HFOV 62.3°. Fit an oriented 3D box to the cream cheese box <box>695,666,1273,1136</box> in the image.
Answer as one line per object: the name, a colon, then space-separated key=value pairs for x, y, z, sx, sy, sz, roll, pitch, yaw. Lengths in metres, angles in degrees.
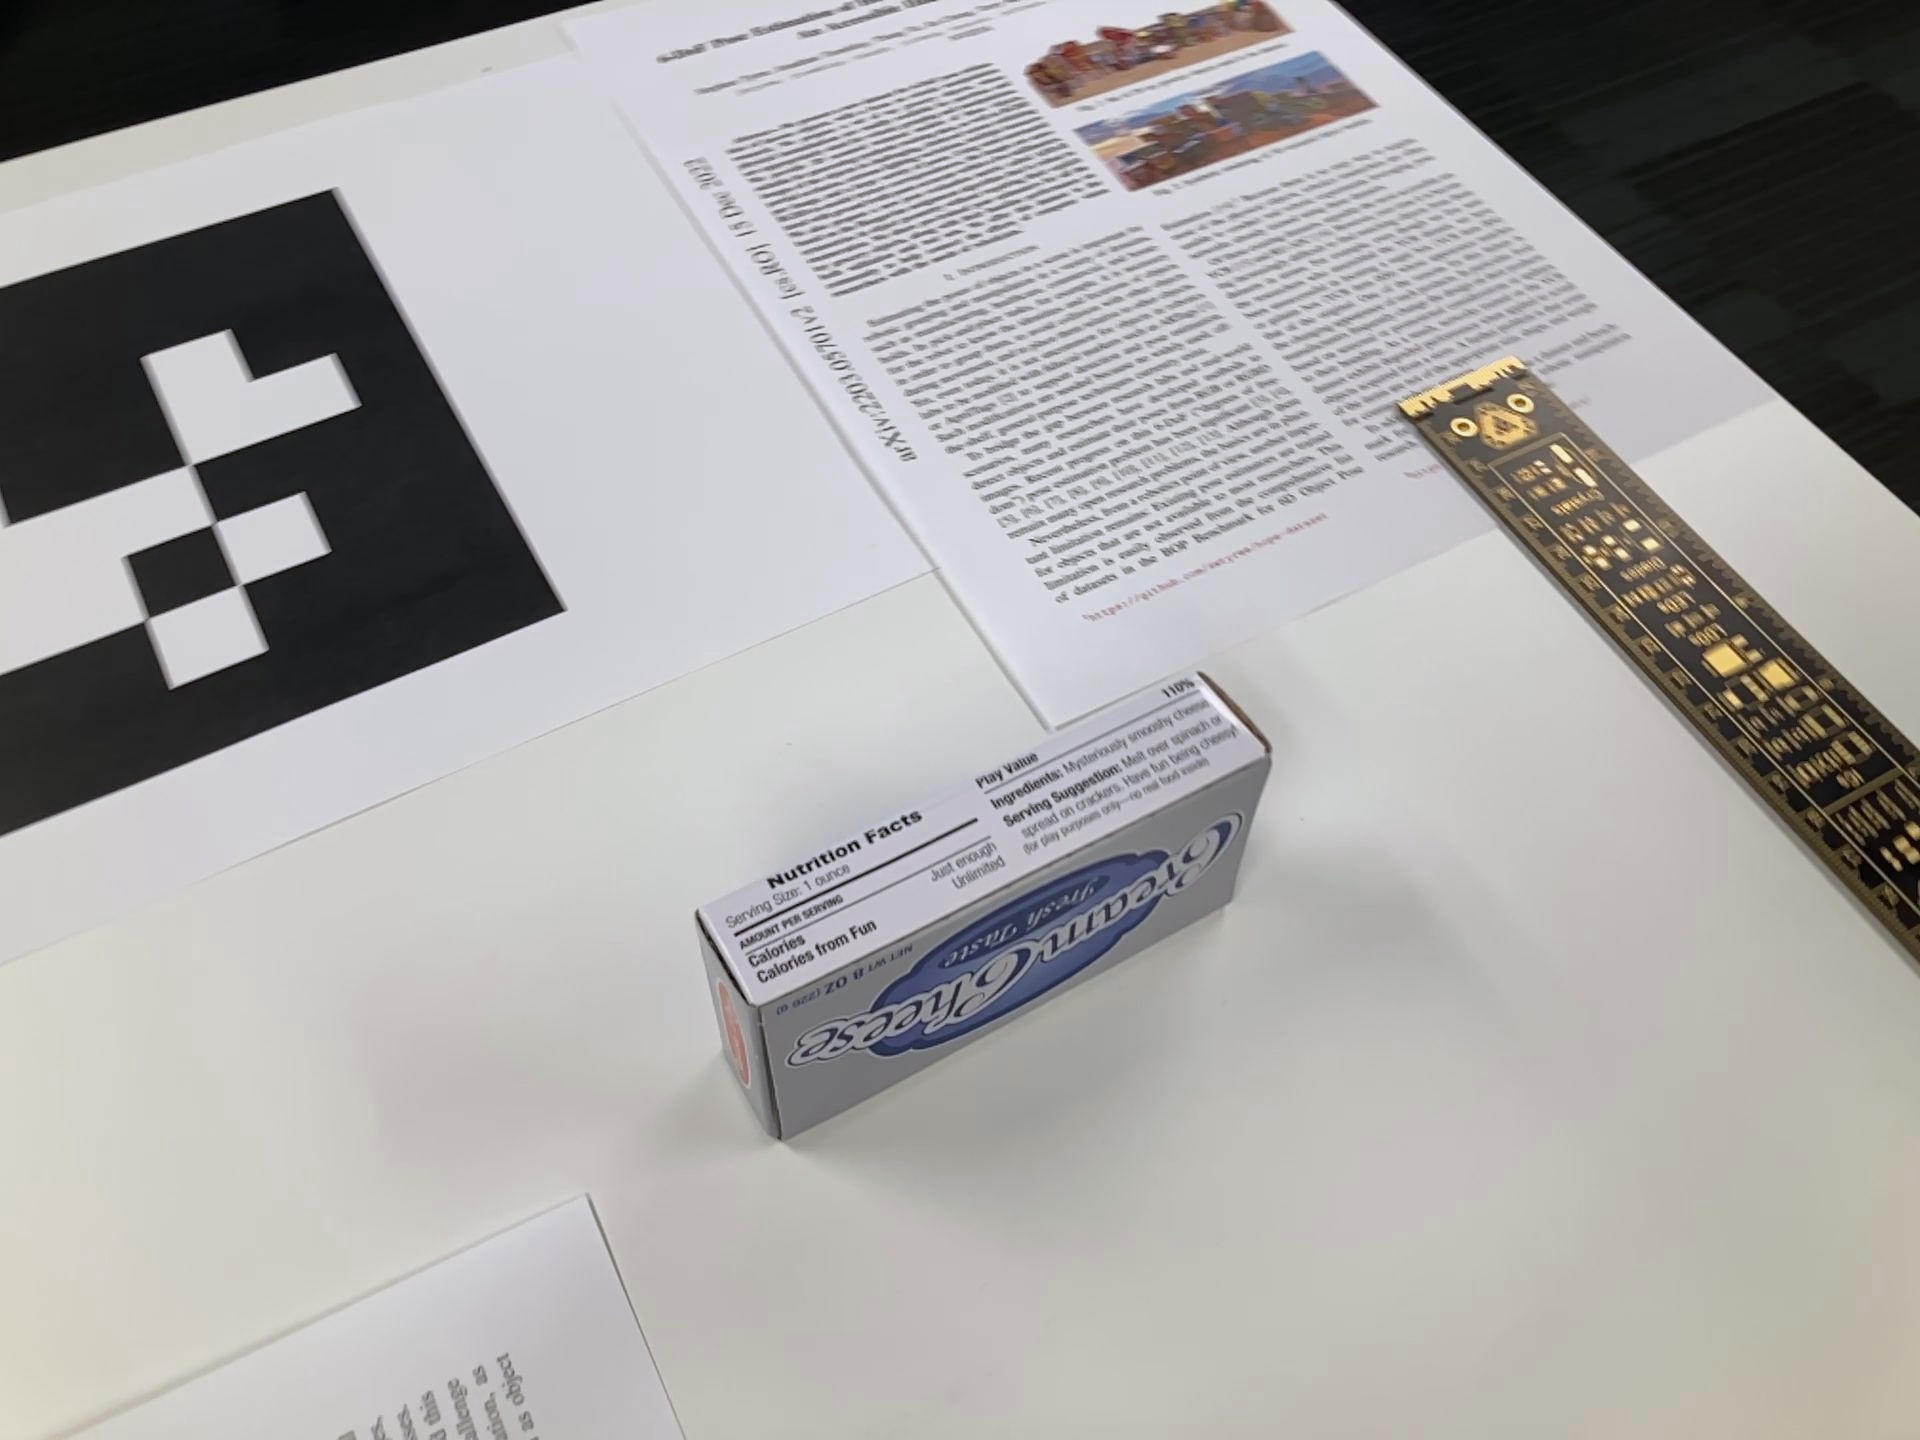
cream cheese box: x=0.006 y=0.033 z=0.287 sx=0.104 sy=0.053 sz=0.024 roll=-25 pitch=59 yaw=-19
